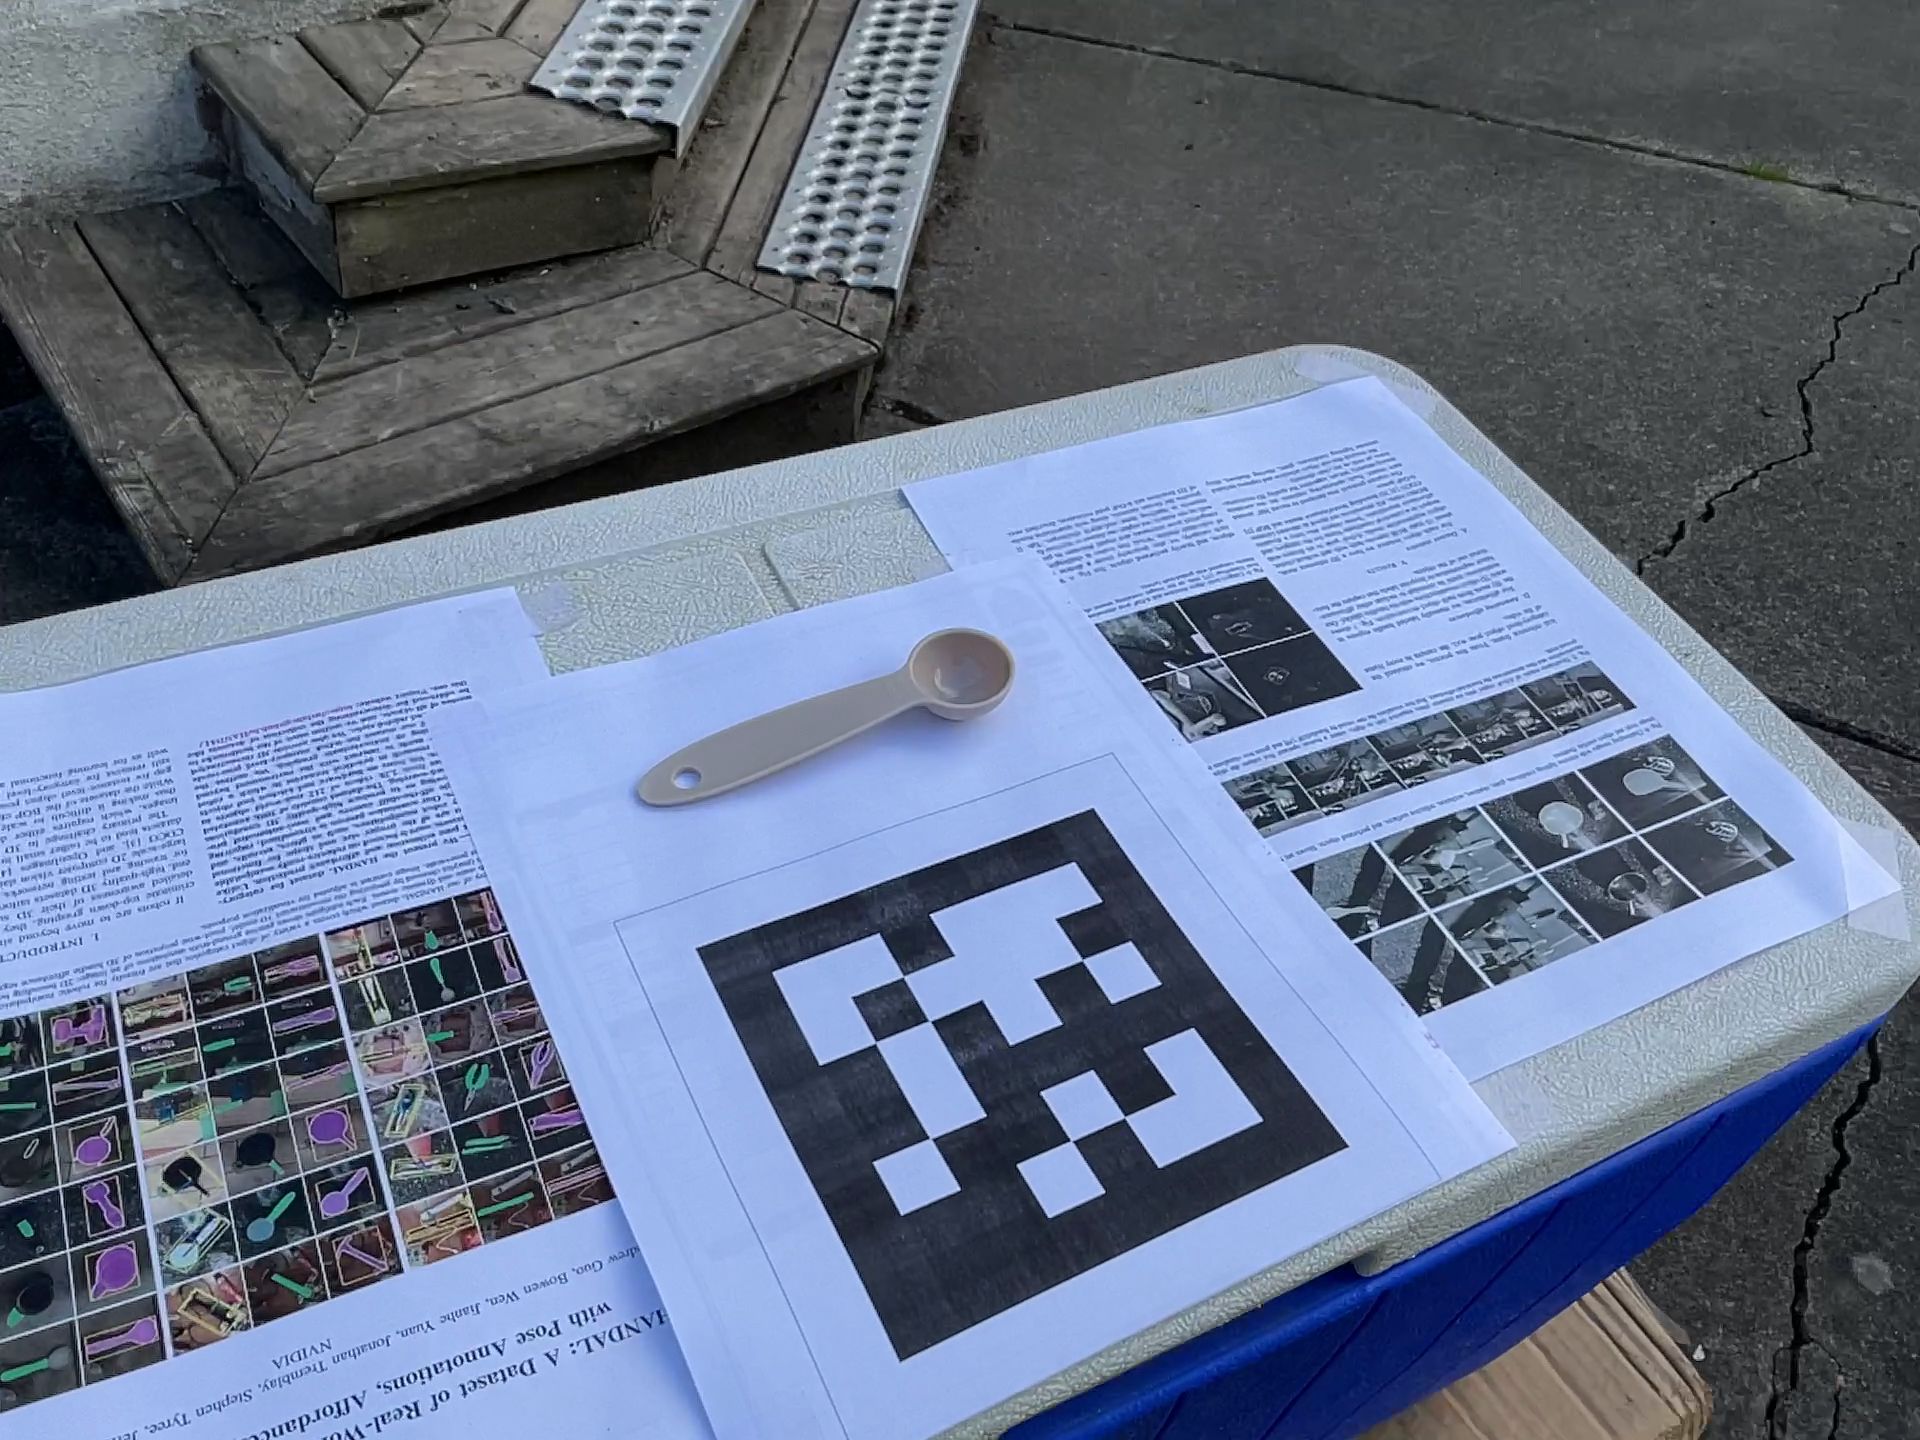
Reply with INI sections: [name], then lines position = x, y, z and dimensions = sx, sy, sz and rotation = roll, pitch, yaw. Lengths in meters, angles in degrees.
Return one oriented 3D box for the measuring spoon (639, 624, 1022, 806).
[measuring spoon]
position = -0.038, 0.003, 0.489
dimensions = 0.124, 0.018, 0.034
rotation = -21, 55, -17
